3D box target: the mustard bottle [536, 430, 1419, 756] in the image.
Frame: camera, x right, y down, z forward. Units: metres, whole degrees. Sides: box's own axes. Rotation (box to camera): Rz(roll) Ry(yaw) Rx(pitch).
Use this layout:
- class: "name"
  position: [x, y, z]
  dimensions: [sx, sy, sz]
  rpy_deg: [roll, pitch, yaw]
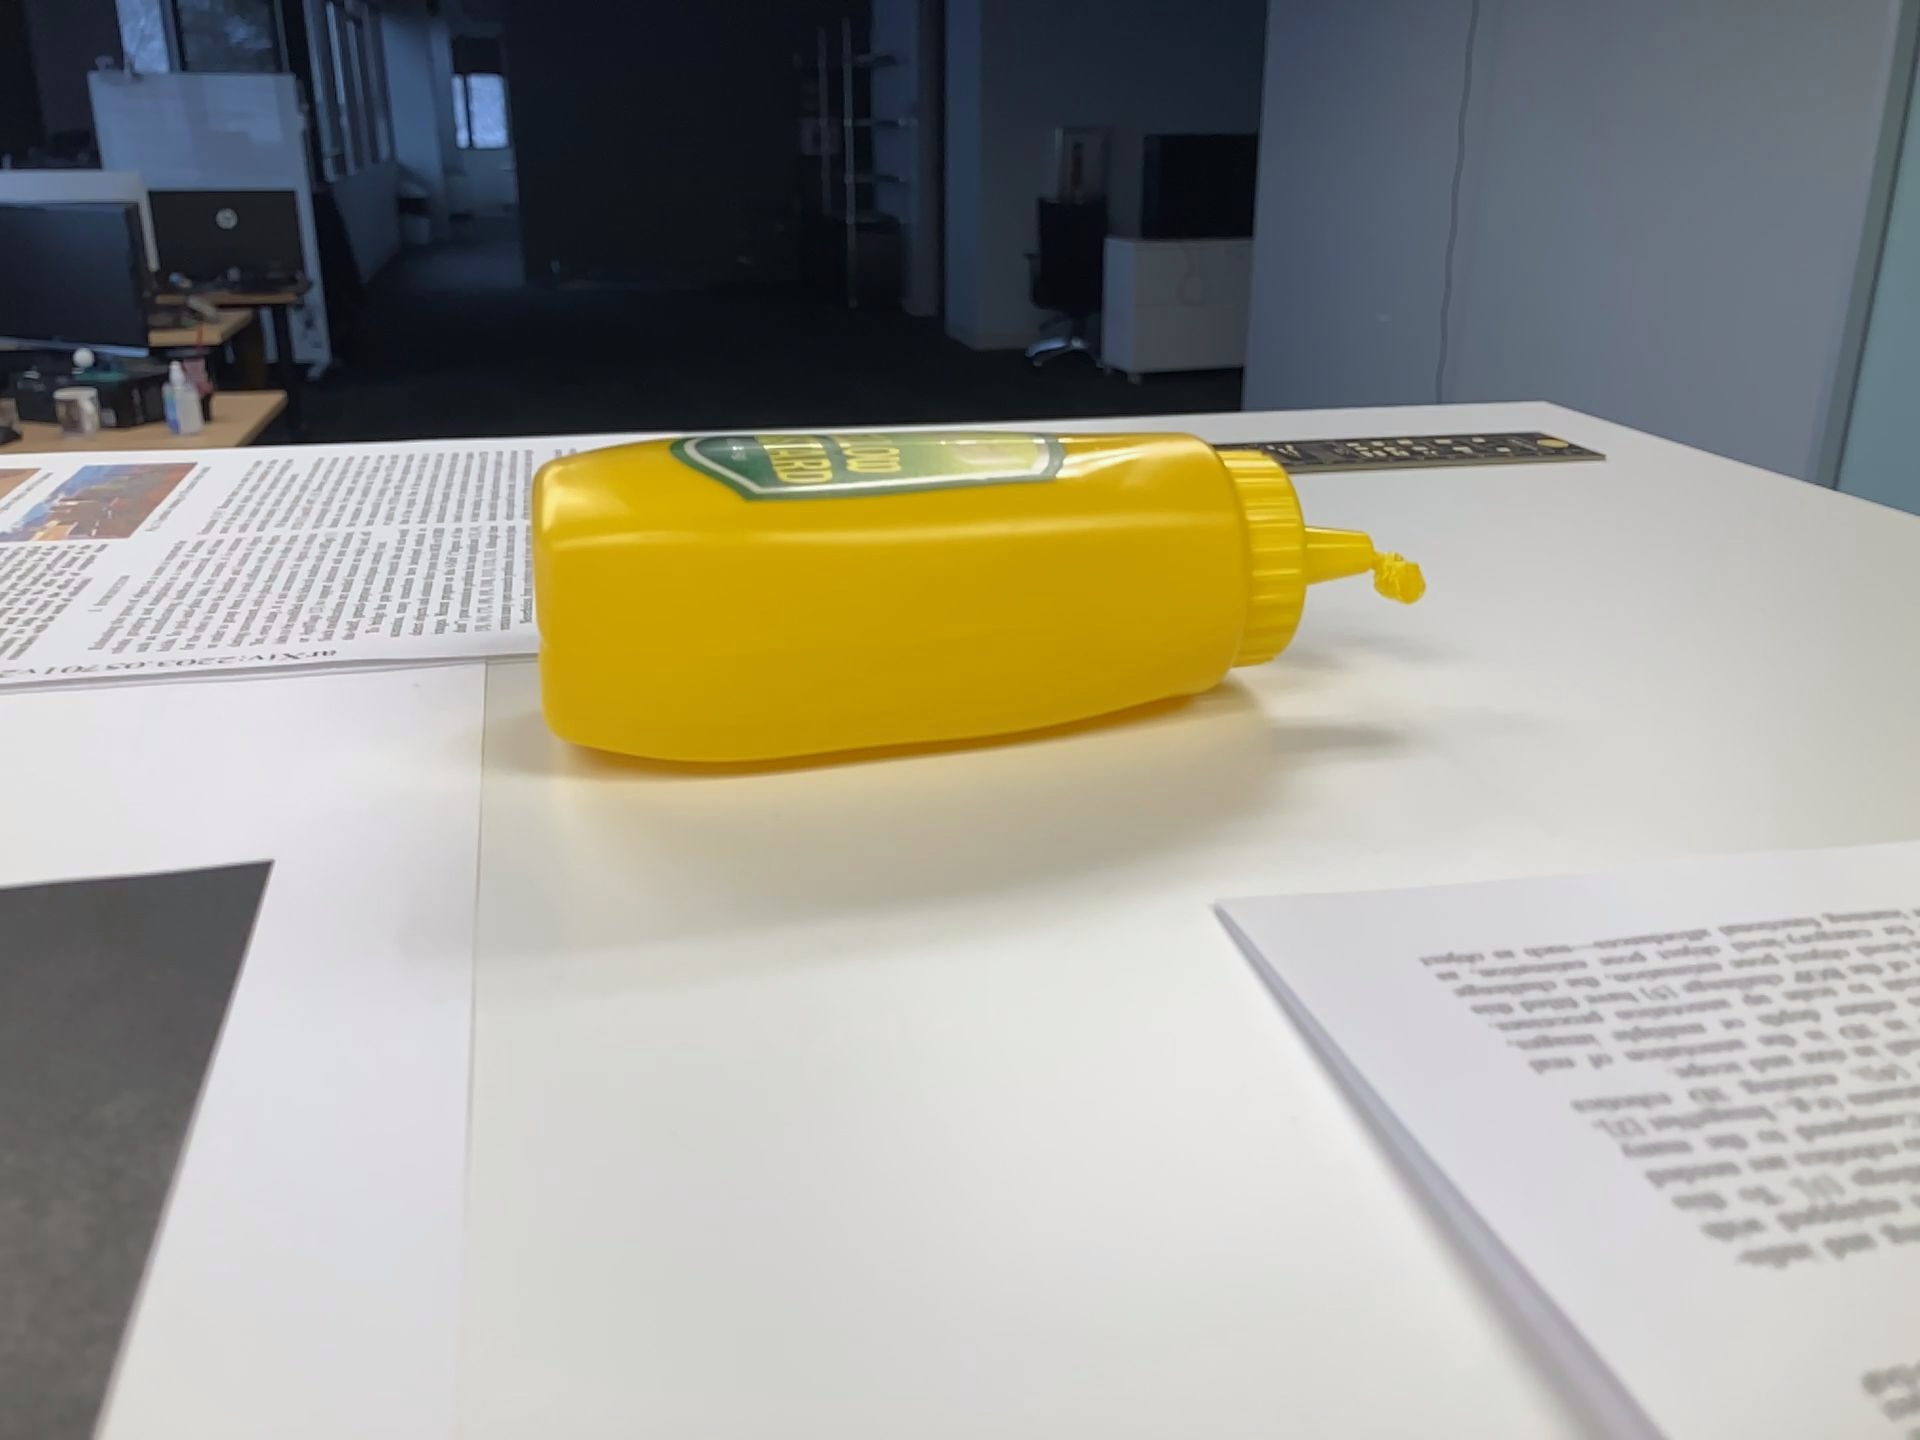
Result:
- class: "mustard bottle"
  position: [0.008, -0.027, 0.281]
  dimensions: [0.160, 0.049, 0.065]
  rpy_deg: [-5, 22, -14]
